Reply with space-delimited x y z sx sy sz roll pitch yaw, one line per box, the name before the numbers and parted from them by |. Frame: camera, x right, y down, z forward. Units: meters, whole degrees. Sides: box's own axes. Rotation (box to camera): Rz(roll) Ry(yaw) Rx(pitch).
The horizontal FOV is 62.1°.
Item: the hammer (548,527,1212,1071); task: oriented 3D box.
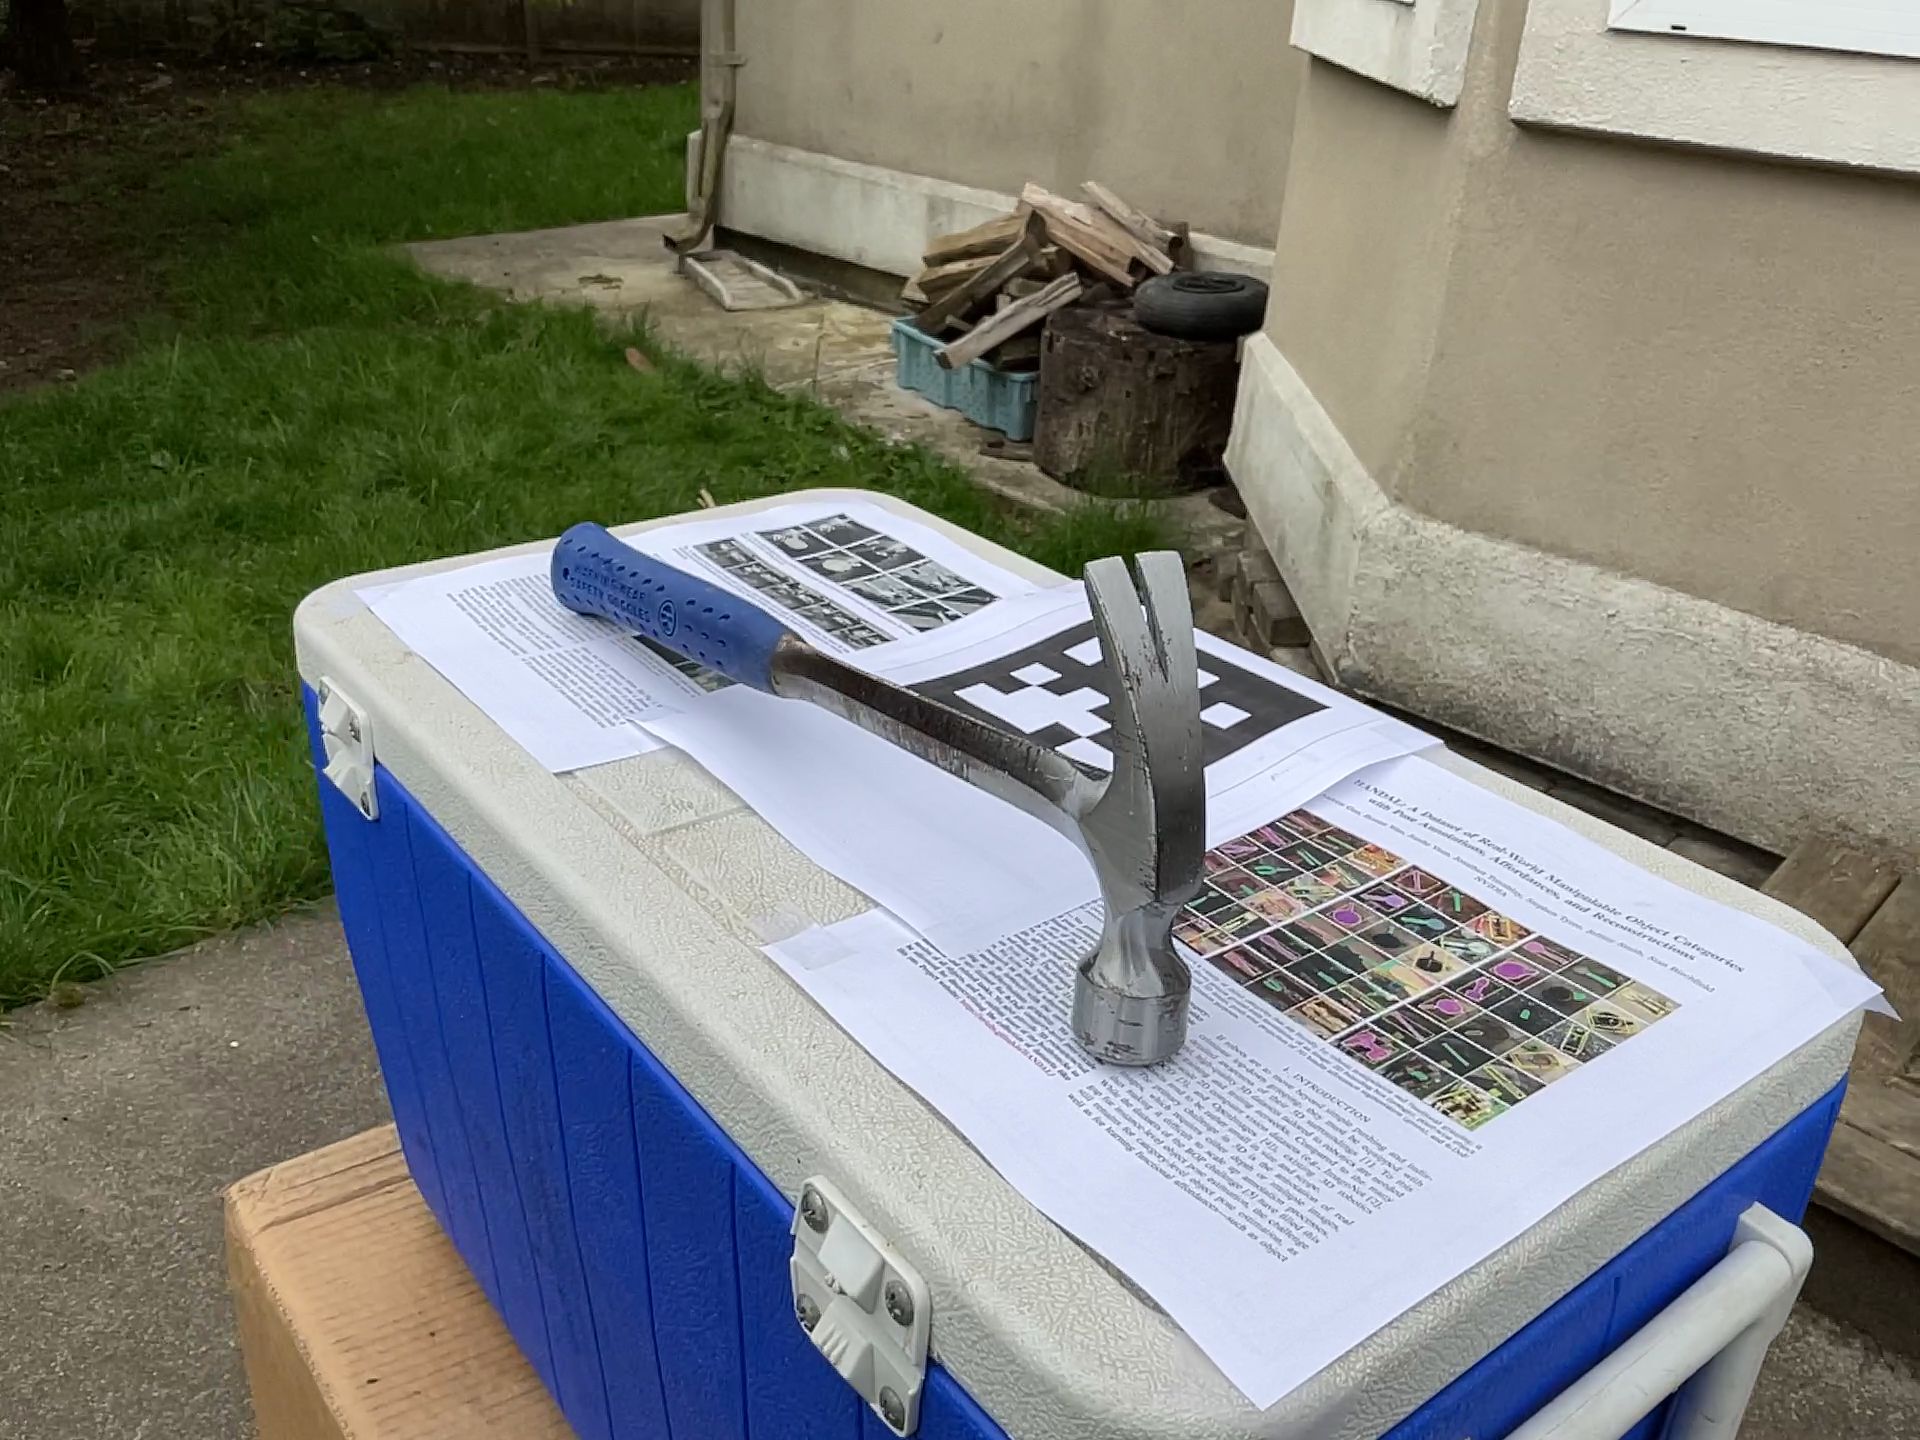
hammer | -0.056 -0.022 0.587 0.035 0.144 0.406 -10 21 -35
